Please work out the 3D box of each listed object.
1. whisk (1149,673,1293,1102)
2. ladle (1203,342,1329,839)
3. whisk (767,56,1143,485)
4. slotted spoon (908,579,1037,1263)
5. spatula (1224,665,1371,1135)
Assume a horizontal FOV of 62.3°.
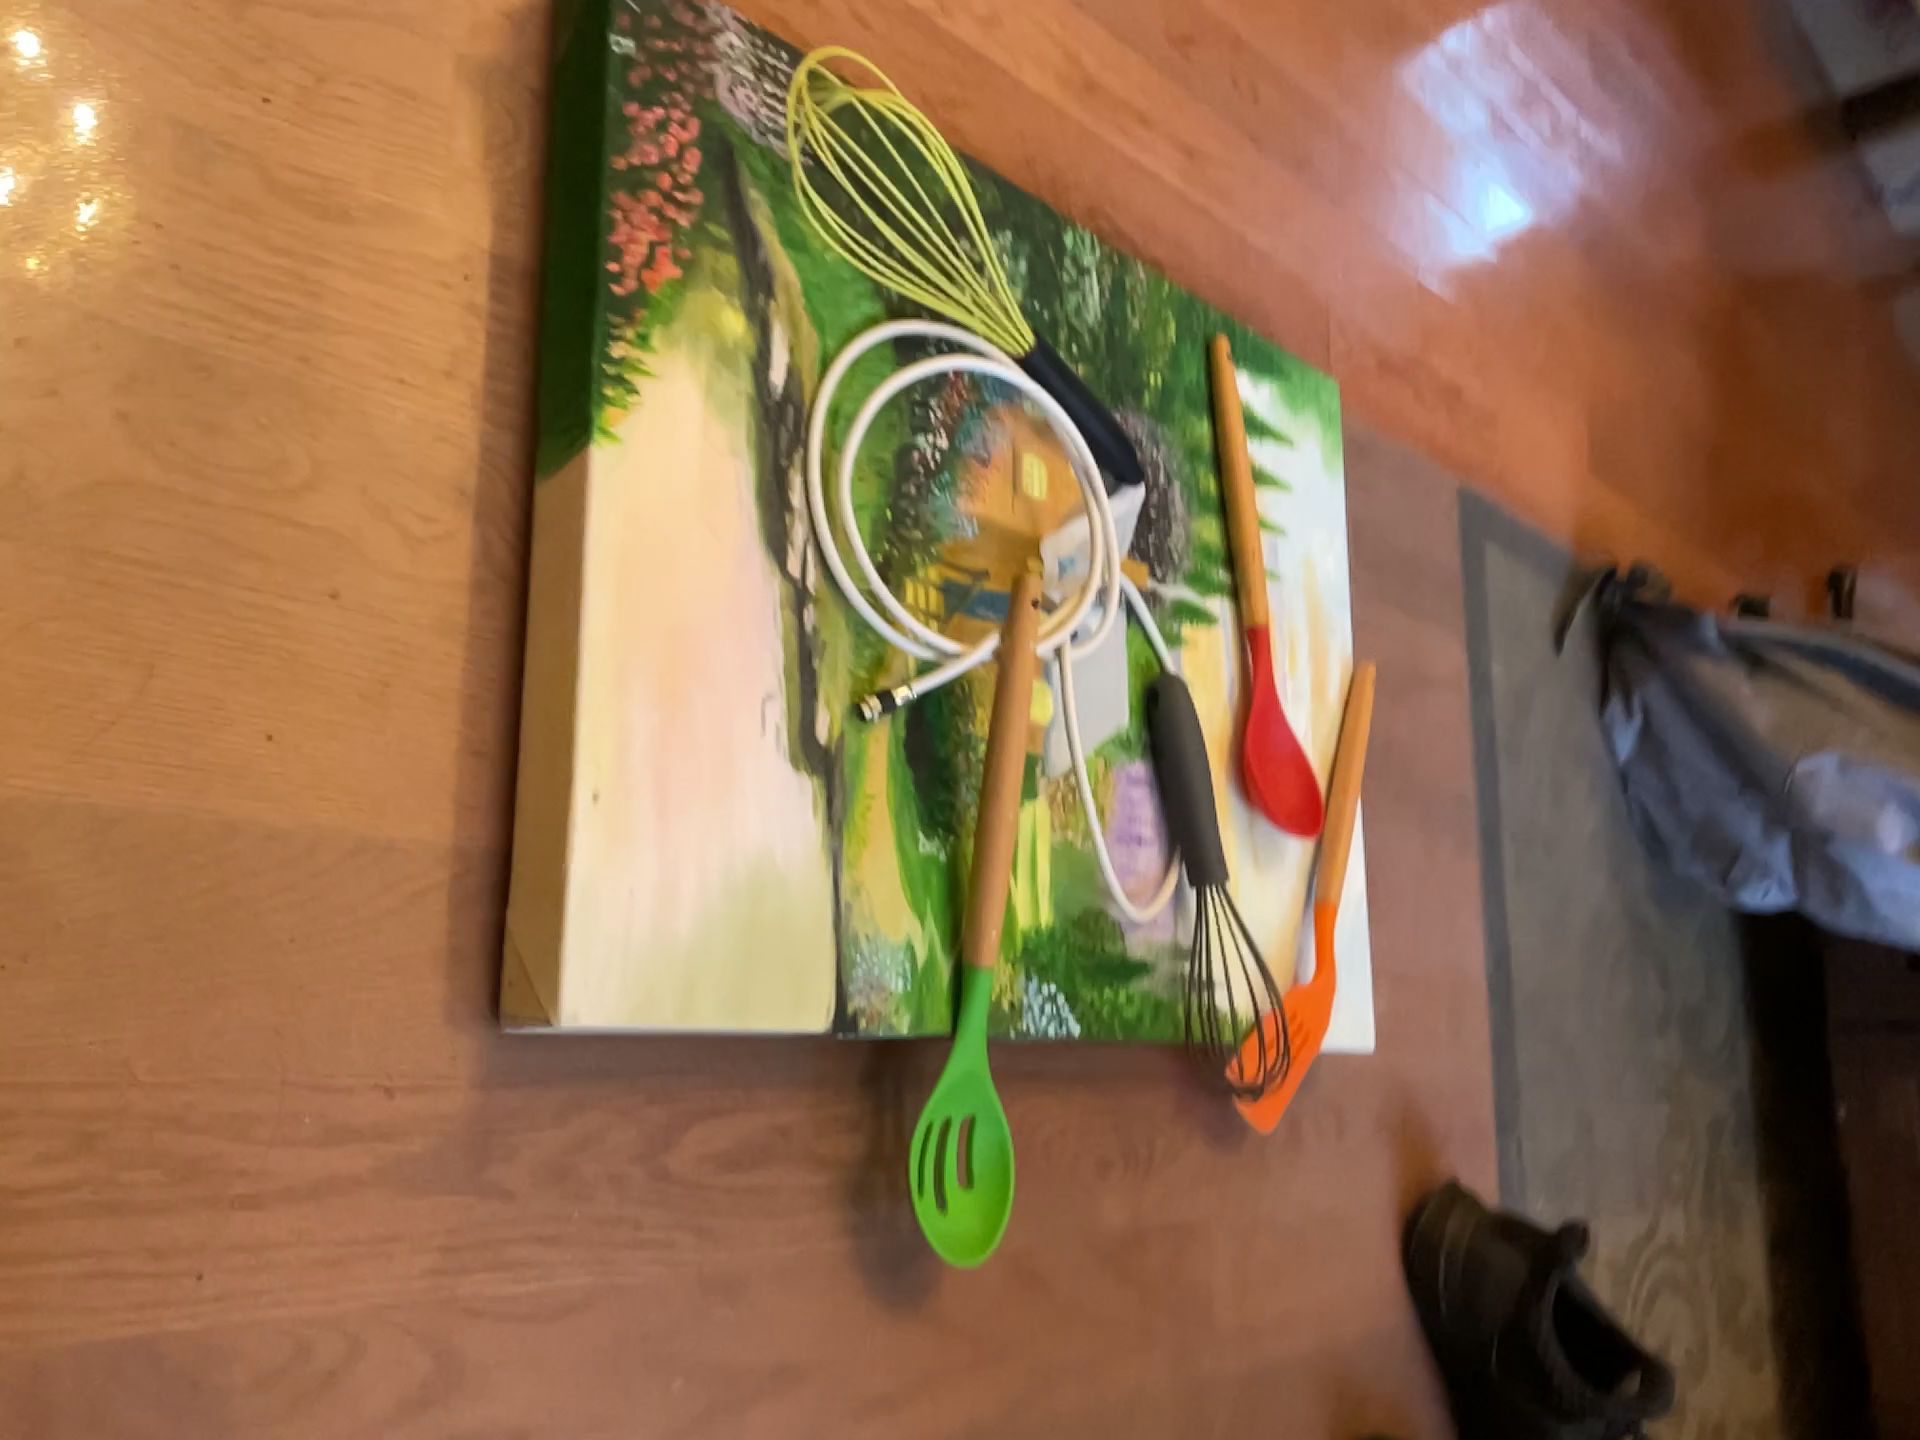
[{"bbox_3d":[0.138,0.089,0.874,0.055,0.055,0.239,7,70,-58],"label":"whisk"},{"bbox_3d":[0.179,-0.081,0.975,0.069,0.031,0.316,2,77,-49],"label":"ladle"},{"bbox_3d":[0.011,-0.208,0.803,0.311,0.067,0.080,39,60,-43],"label":"whisk"},{"bbox_3d":[0.013,0.090,0.739,0.070,0.031,0.314,10,86,-46],"label":"slotted spoon"},{"bbox_3d":[0.222,0.097,0.994,0.080,0.041,0.323,52,45,-42],"label":"spatula"}]
